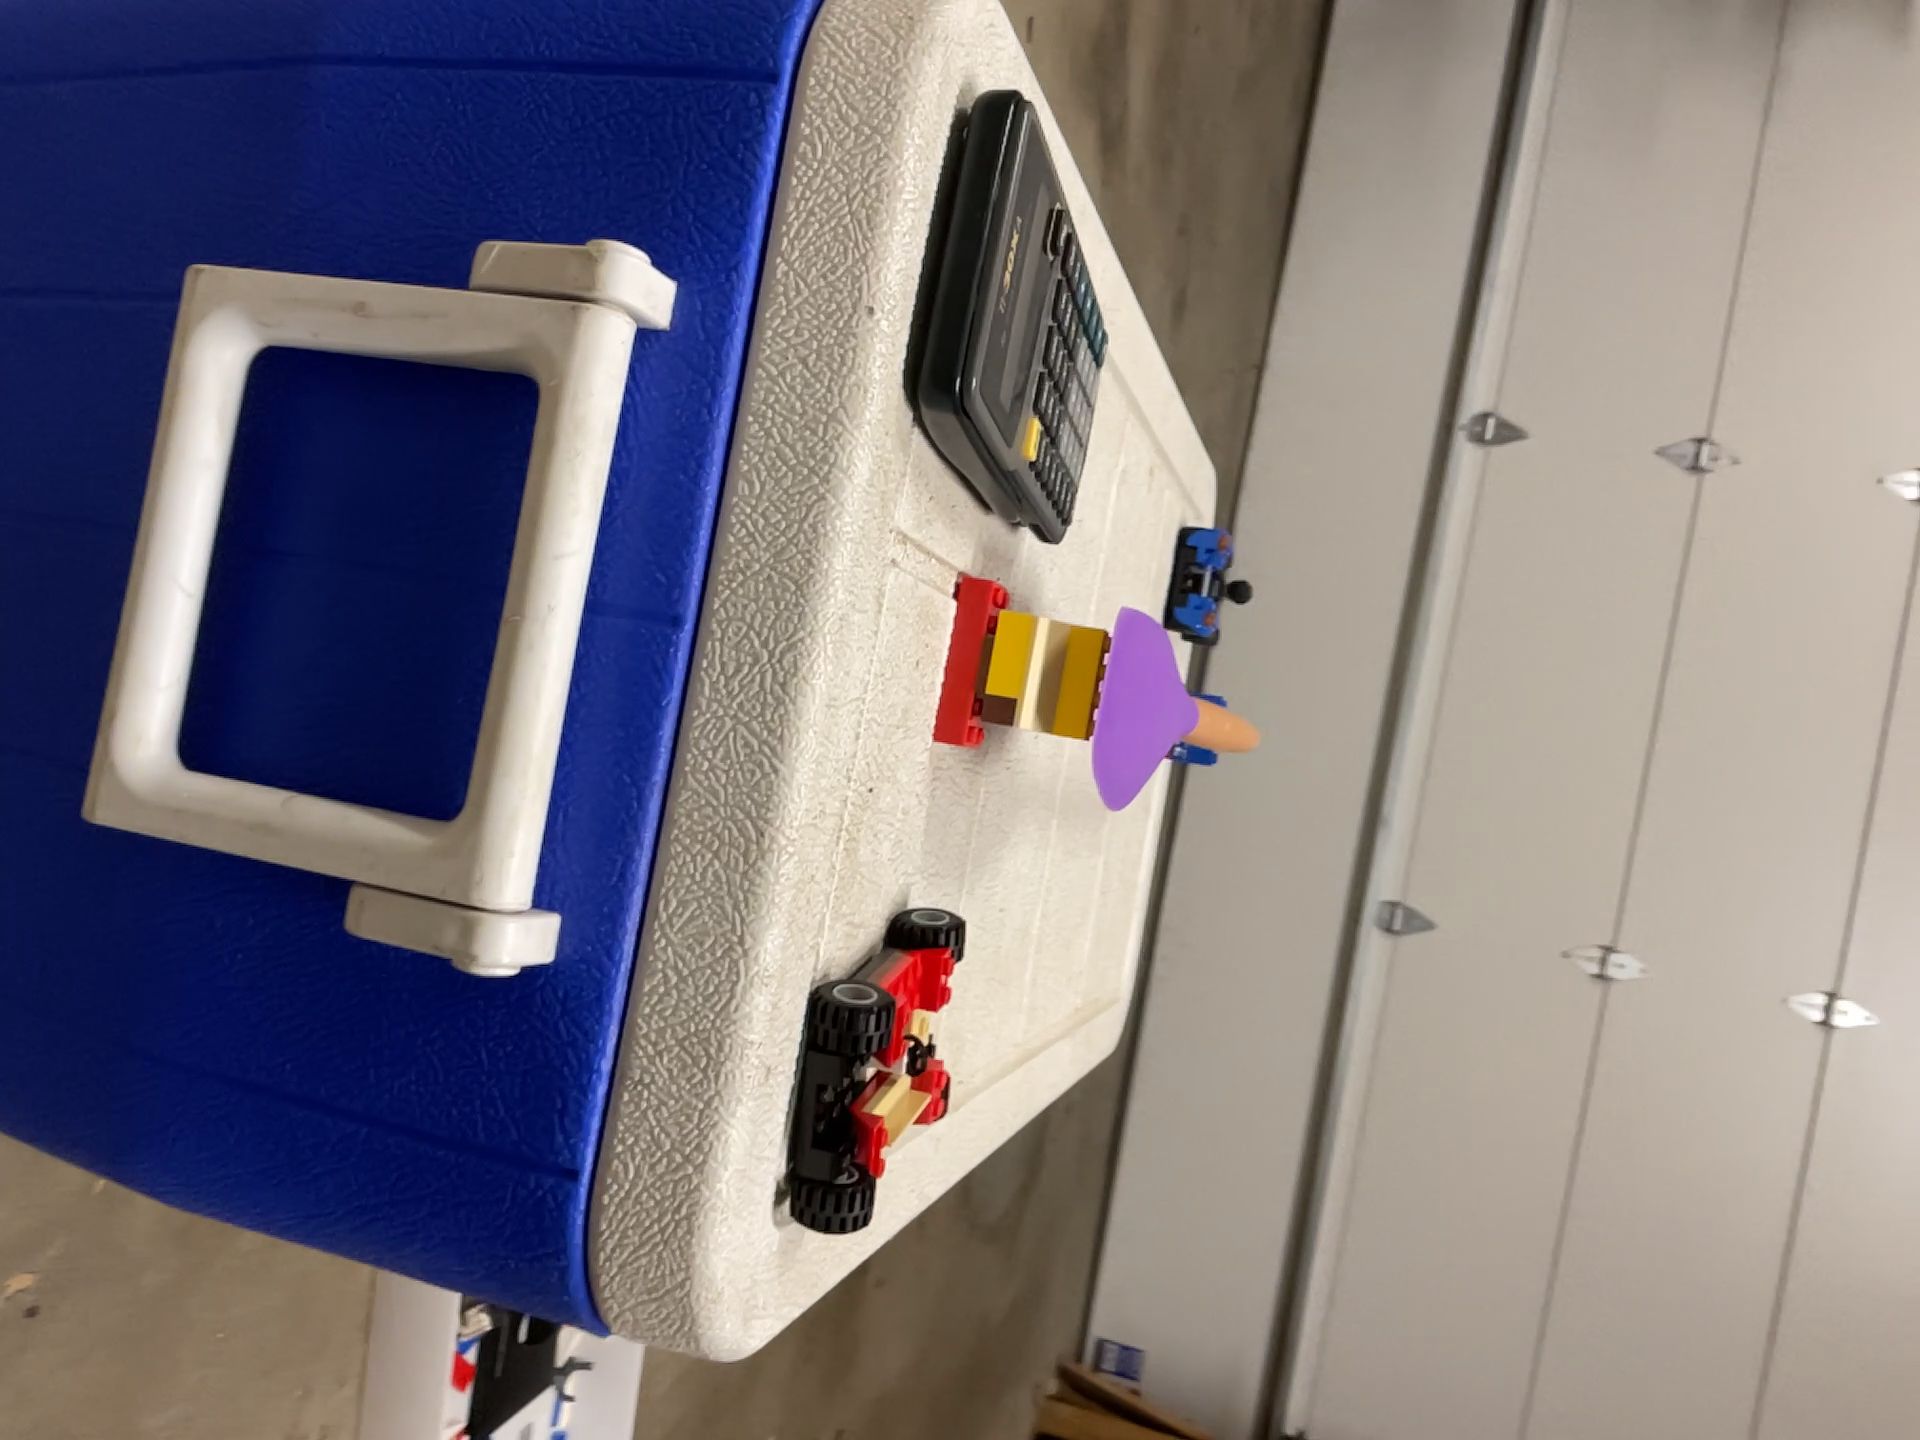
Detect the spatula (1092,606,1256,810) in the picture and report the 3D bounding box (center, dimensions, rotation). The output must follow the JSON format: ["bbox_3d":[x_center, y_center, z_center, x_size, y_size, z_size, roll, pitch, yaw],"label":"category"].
[{"bbox_3d":[0.084,0.002,0.586,0.316,0.018,0.060,8,91,-73],"label":"spatula"}]
